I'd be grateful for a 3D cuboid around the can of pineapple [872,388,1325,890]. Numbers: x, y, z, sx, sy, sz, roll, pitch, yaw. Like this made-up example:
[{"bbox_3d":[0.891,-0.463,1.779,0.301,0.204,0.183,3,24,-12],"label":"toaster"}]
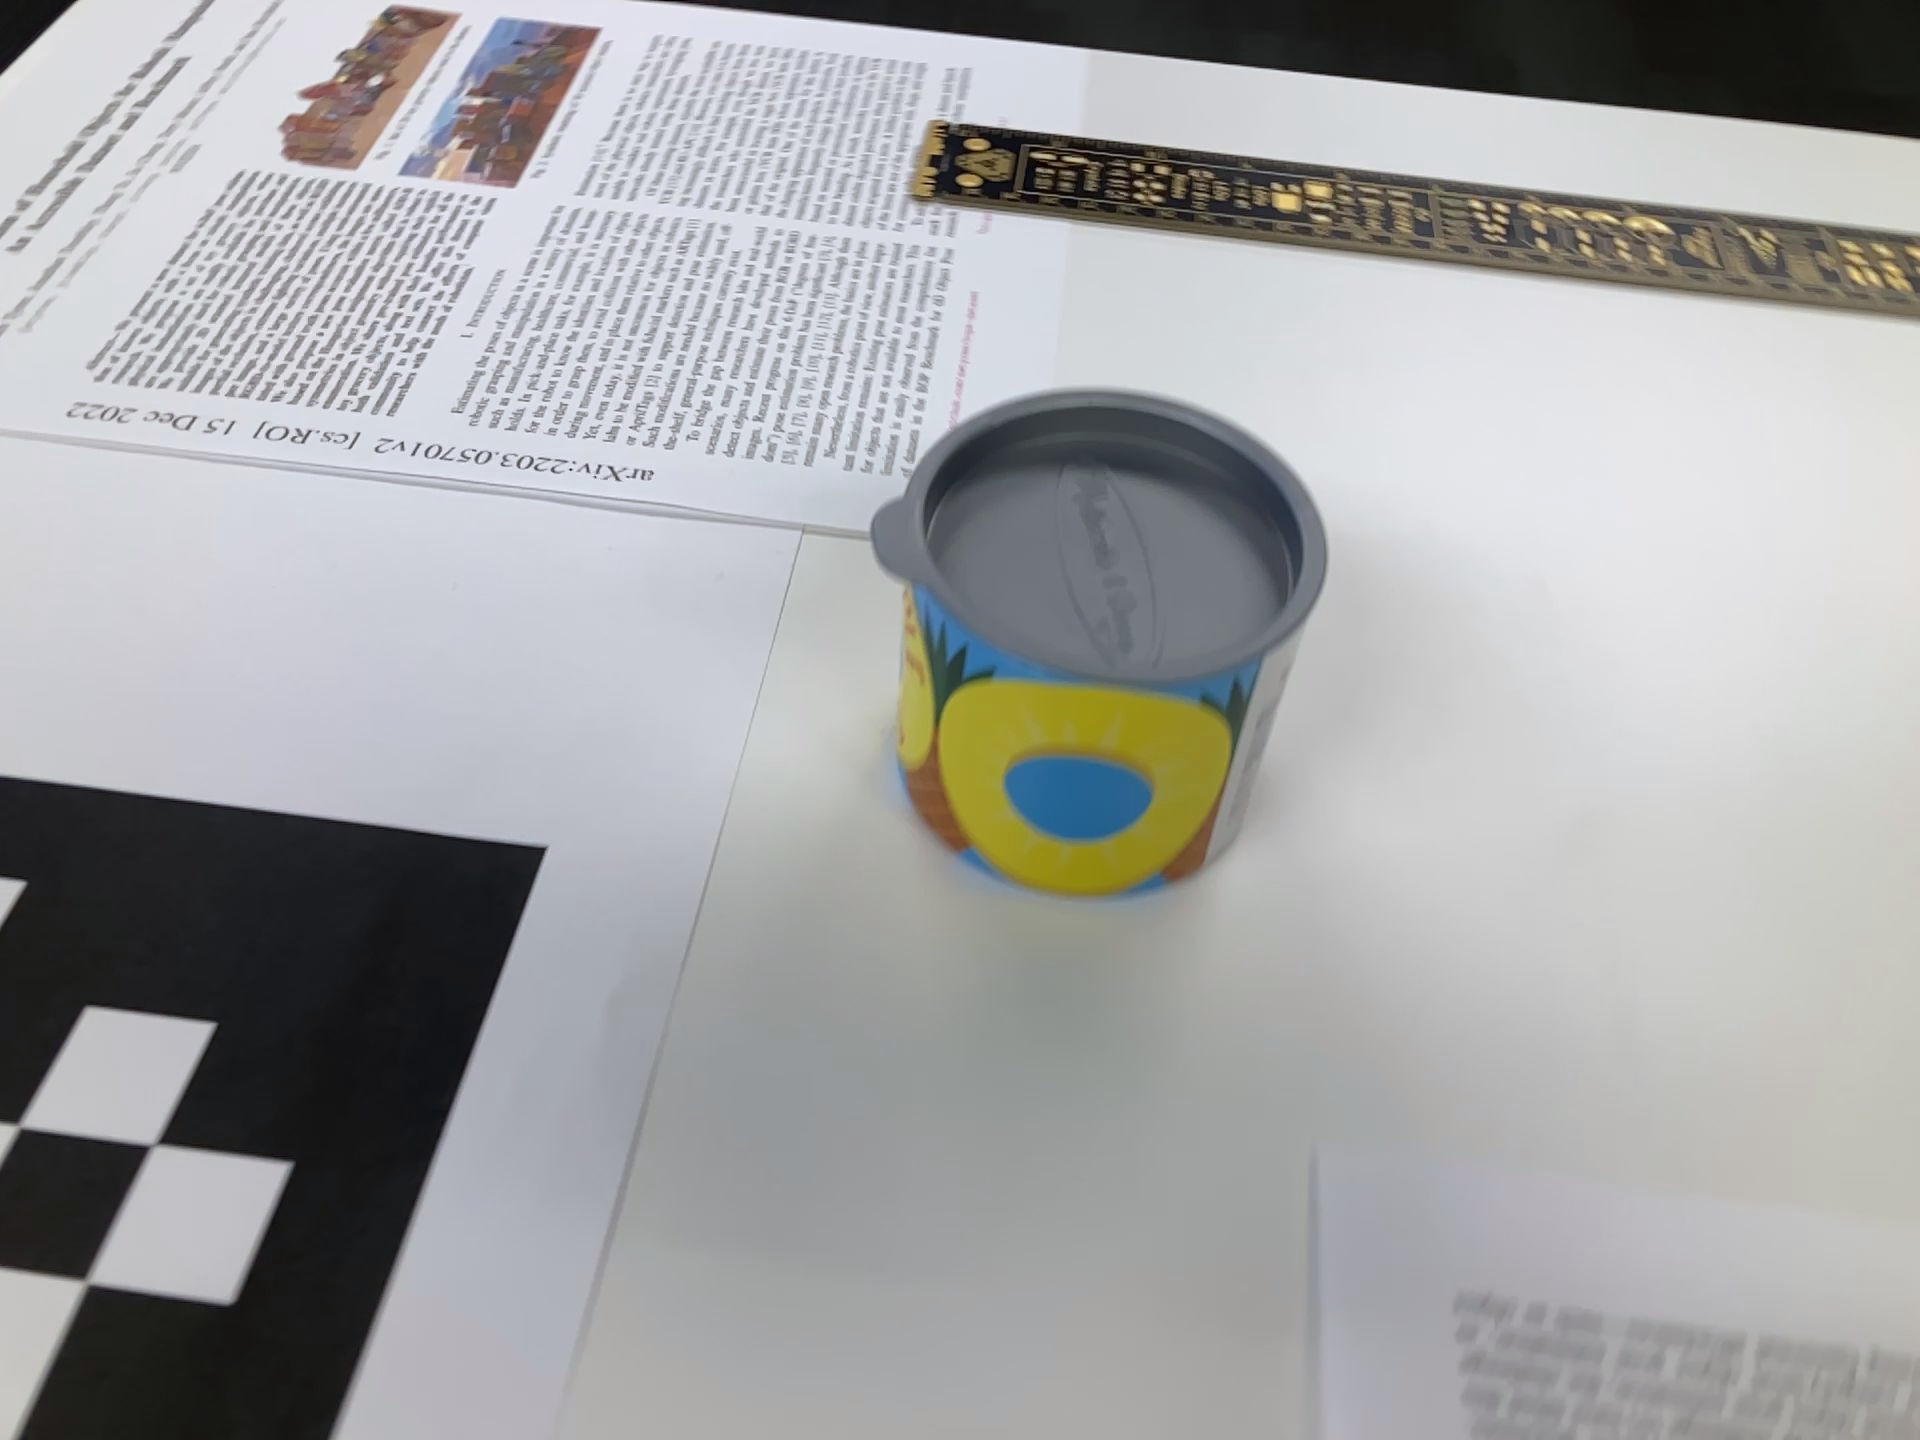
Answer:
[{"bbox_3d":[0.021,-0.014,0.270,0.071,0.058,0.071,2,48,-2],"label":"can of pineapple"}]
